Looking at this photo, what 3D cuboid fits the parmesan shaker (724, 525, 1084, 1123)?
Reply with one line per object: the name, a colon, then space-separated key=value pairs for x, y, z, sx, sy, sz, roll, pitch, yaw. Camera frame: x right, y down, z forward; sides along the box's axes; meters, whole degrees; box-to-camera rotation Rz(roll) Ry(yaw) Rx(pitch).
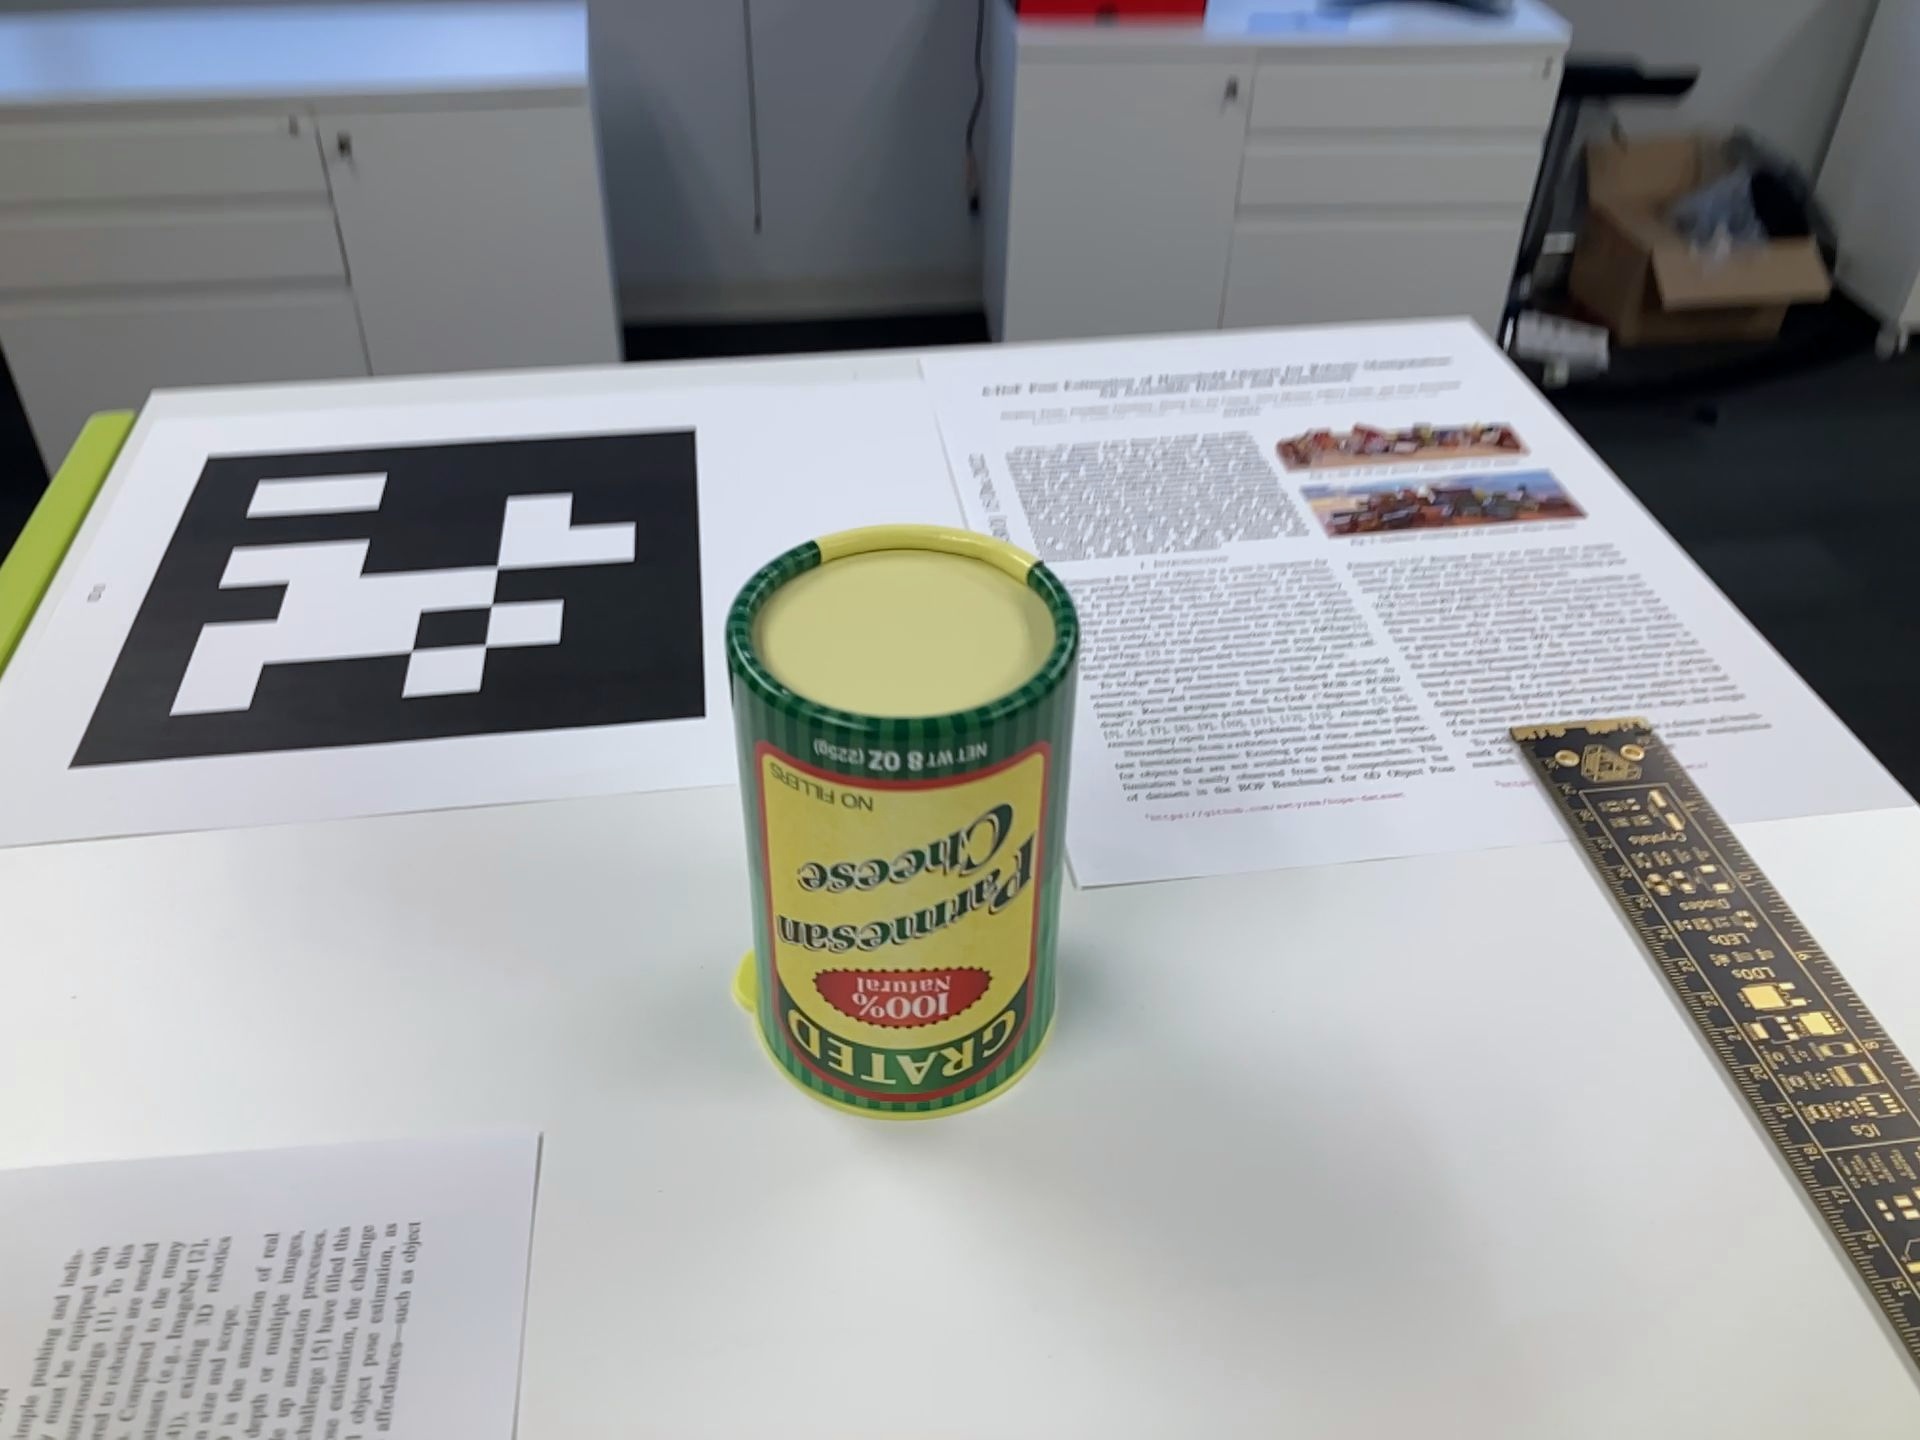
parmesan shaker: x=-0.014 y=0.021 z=0.316 sx=0.071 sy=0.103 sz=0.071 roll=0 pitch=39 yaw=0
